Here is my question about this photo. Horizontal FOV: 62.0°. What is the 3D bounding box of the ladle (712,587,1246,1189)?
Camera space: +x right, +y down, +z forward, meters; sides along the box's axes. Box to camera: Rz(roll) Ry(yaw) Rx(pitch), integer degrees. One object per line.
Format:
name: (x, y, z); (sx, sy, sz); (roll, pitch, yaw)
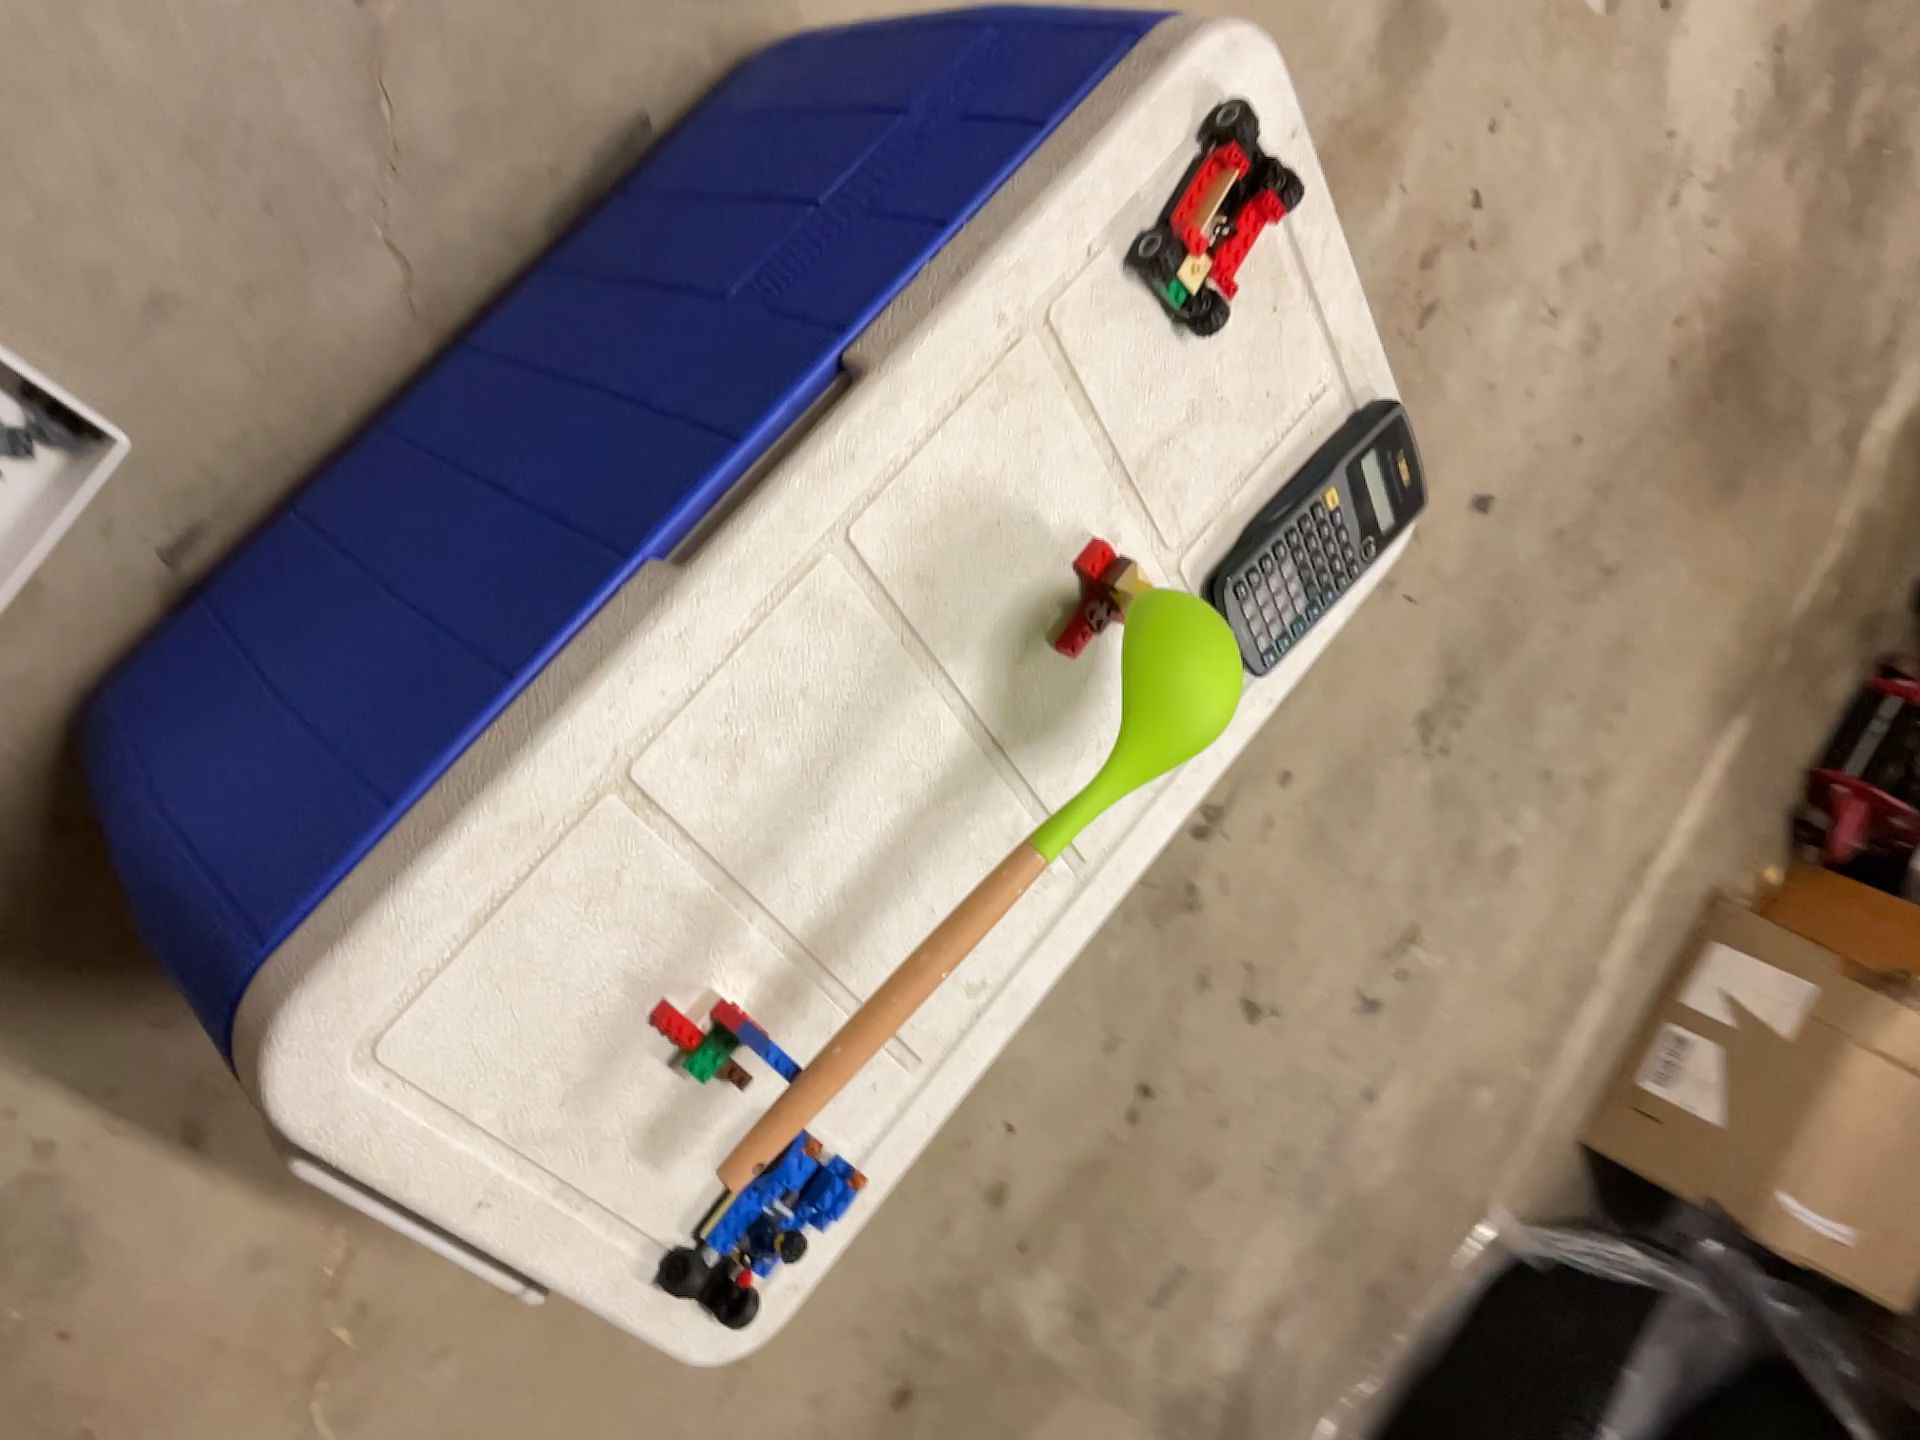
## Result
ladle: (0.007, 0.069, 0.680); (0.320, 0.062, 0.078); (-45, 140, -8)
